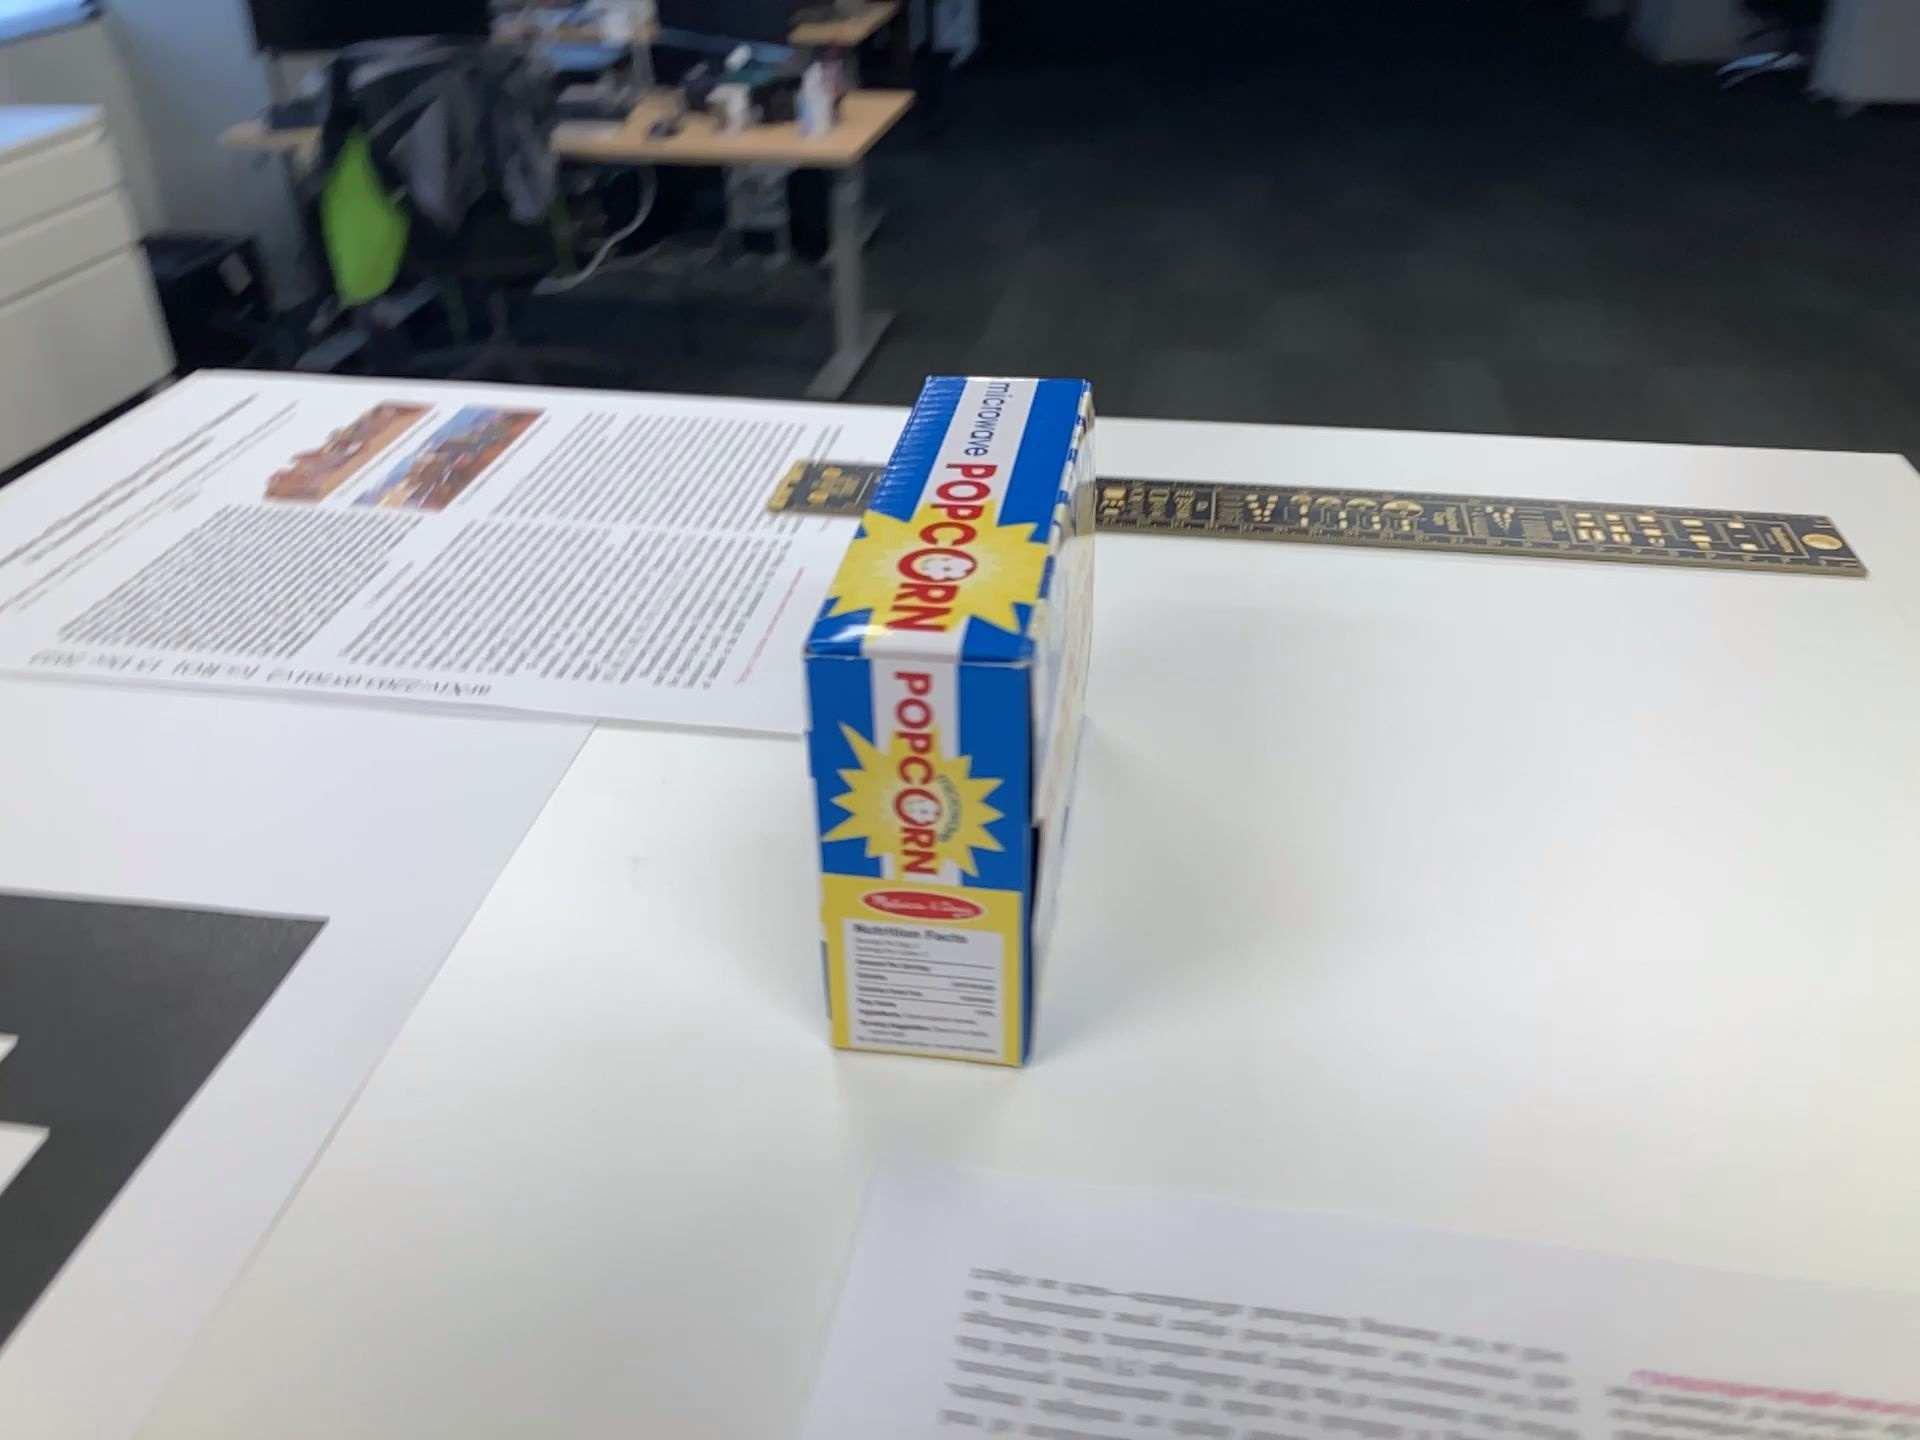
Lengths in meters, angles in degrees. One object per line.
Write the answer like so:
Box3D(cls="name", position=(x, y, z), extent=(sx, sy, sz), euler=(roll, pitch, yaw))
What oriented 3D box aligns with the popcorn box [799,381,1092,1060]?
Box3D(cls="popcorn box", position=(0.002, -0.008, 0.319), extent=(0.038, 0.085, 0.126), euler=(4, 32, 8))
